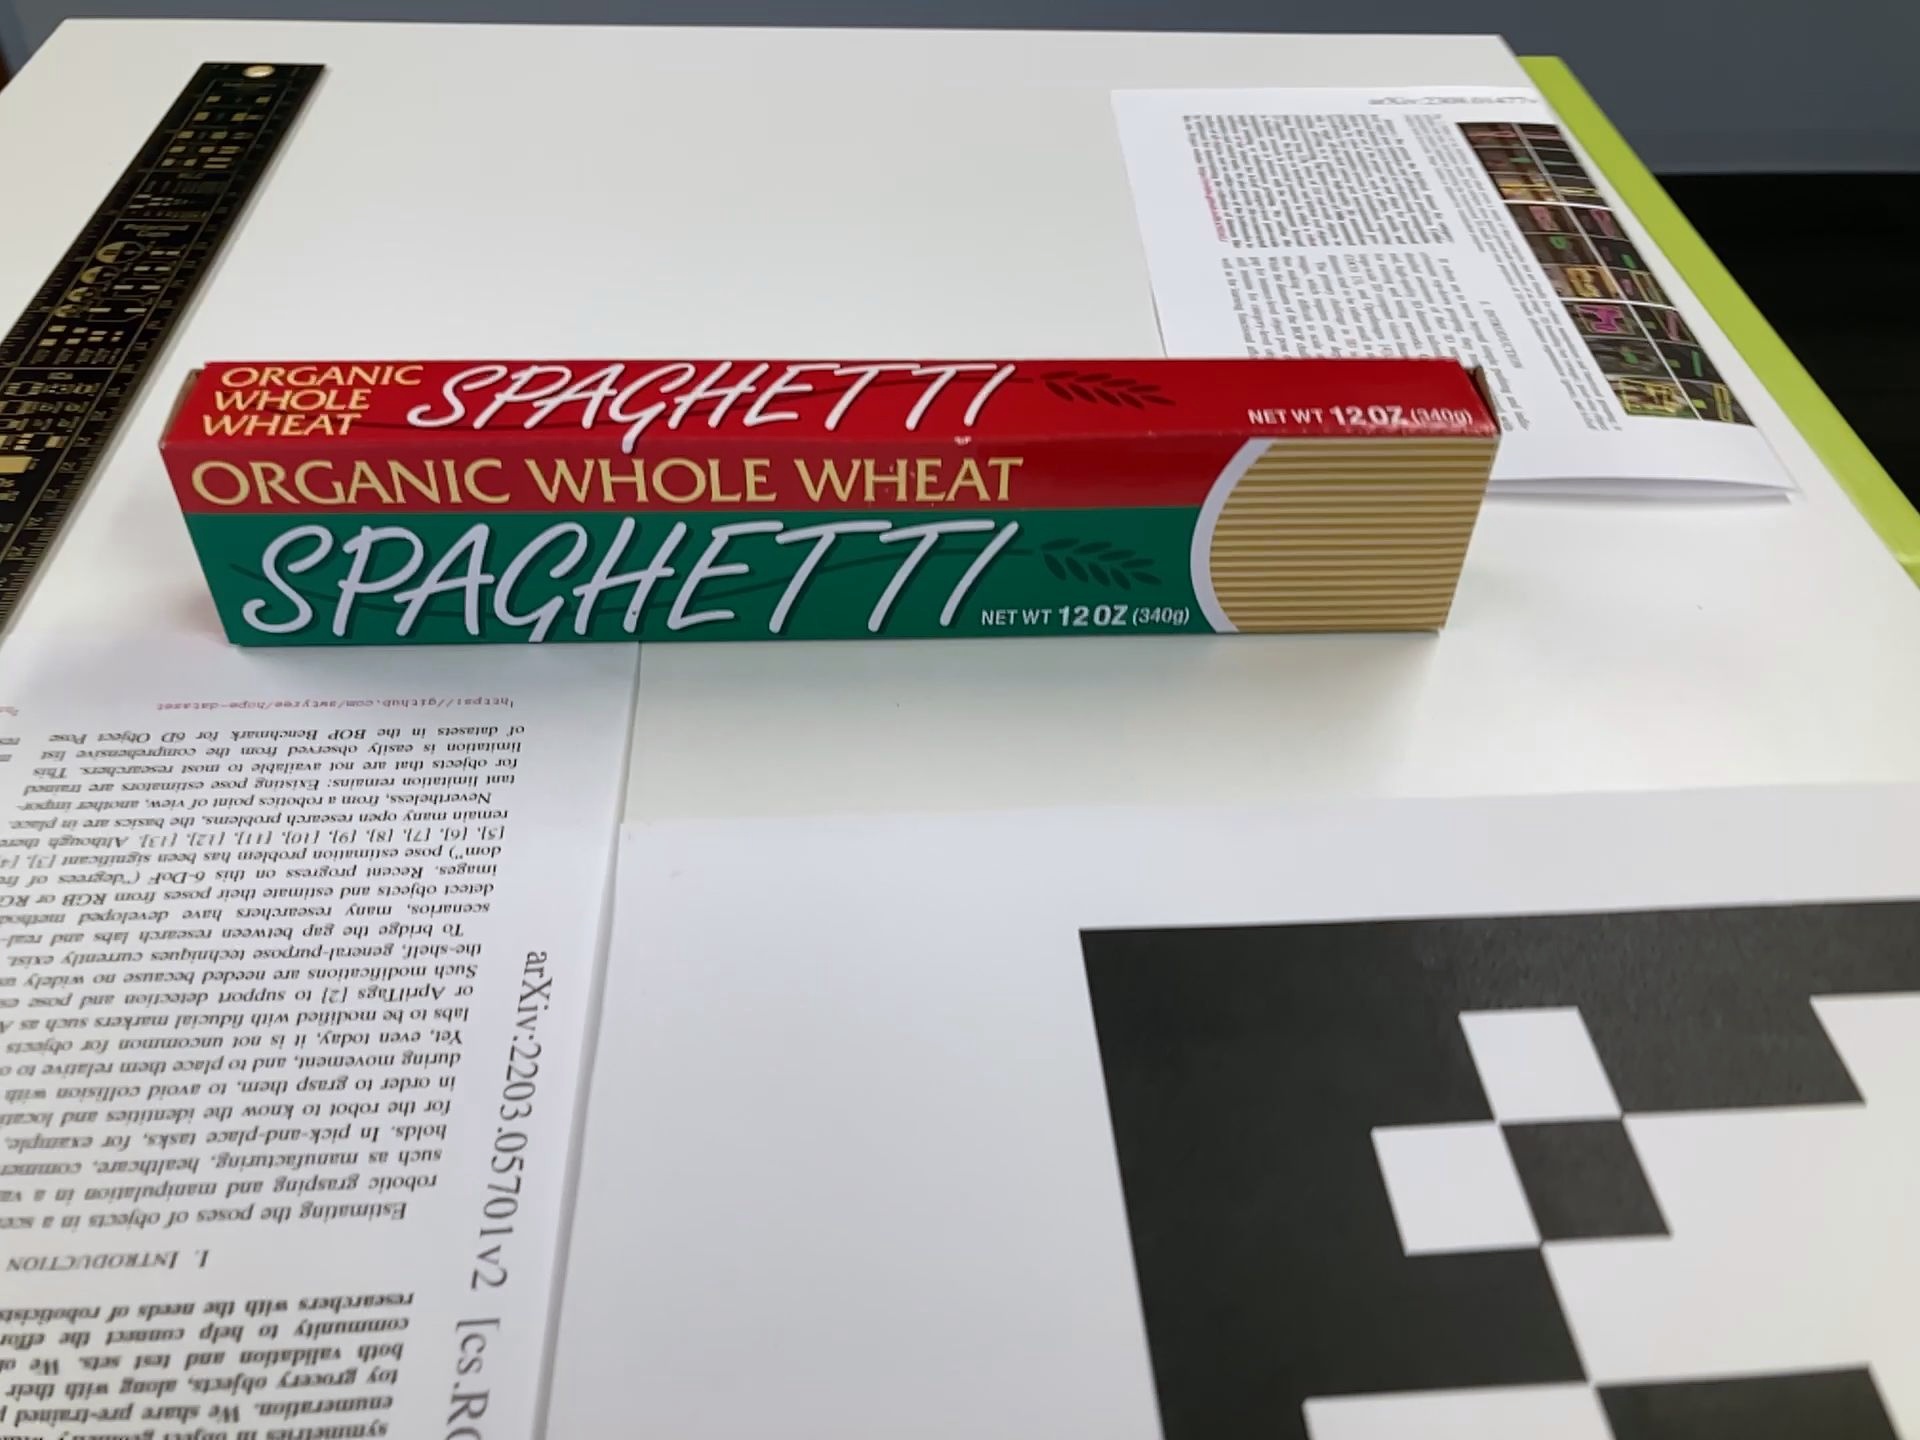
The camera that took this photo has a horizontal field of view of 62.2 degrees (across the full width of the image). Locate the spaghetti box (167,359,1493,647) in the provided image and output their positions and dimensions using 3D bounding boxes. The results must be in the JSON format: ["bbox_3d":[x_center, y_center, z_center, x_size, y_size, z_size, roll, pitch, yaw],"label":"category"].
[{"bbox_3d":[-0.023,-0.043,0.318,0.250,0.050,0.028,-1,42,-4],"label":"spaghetti box"}]
